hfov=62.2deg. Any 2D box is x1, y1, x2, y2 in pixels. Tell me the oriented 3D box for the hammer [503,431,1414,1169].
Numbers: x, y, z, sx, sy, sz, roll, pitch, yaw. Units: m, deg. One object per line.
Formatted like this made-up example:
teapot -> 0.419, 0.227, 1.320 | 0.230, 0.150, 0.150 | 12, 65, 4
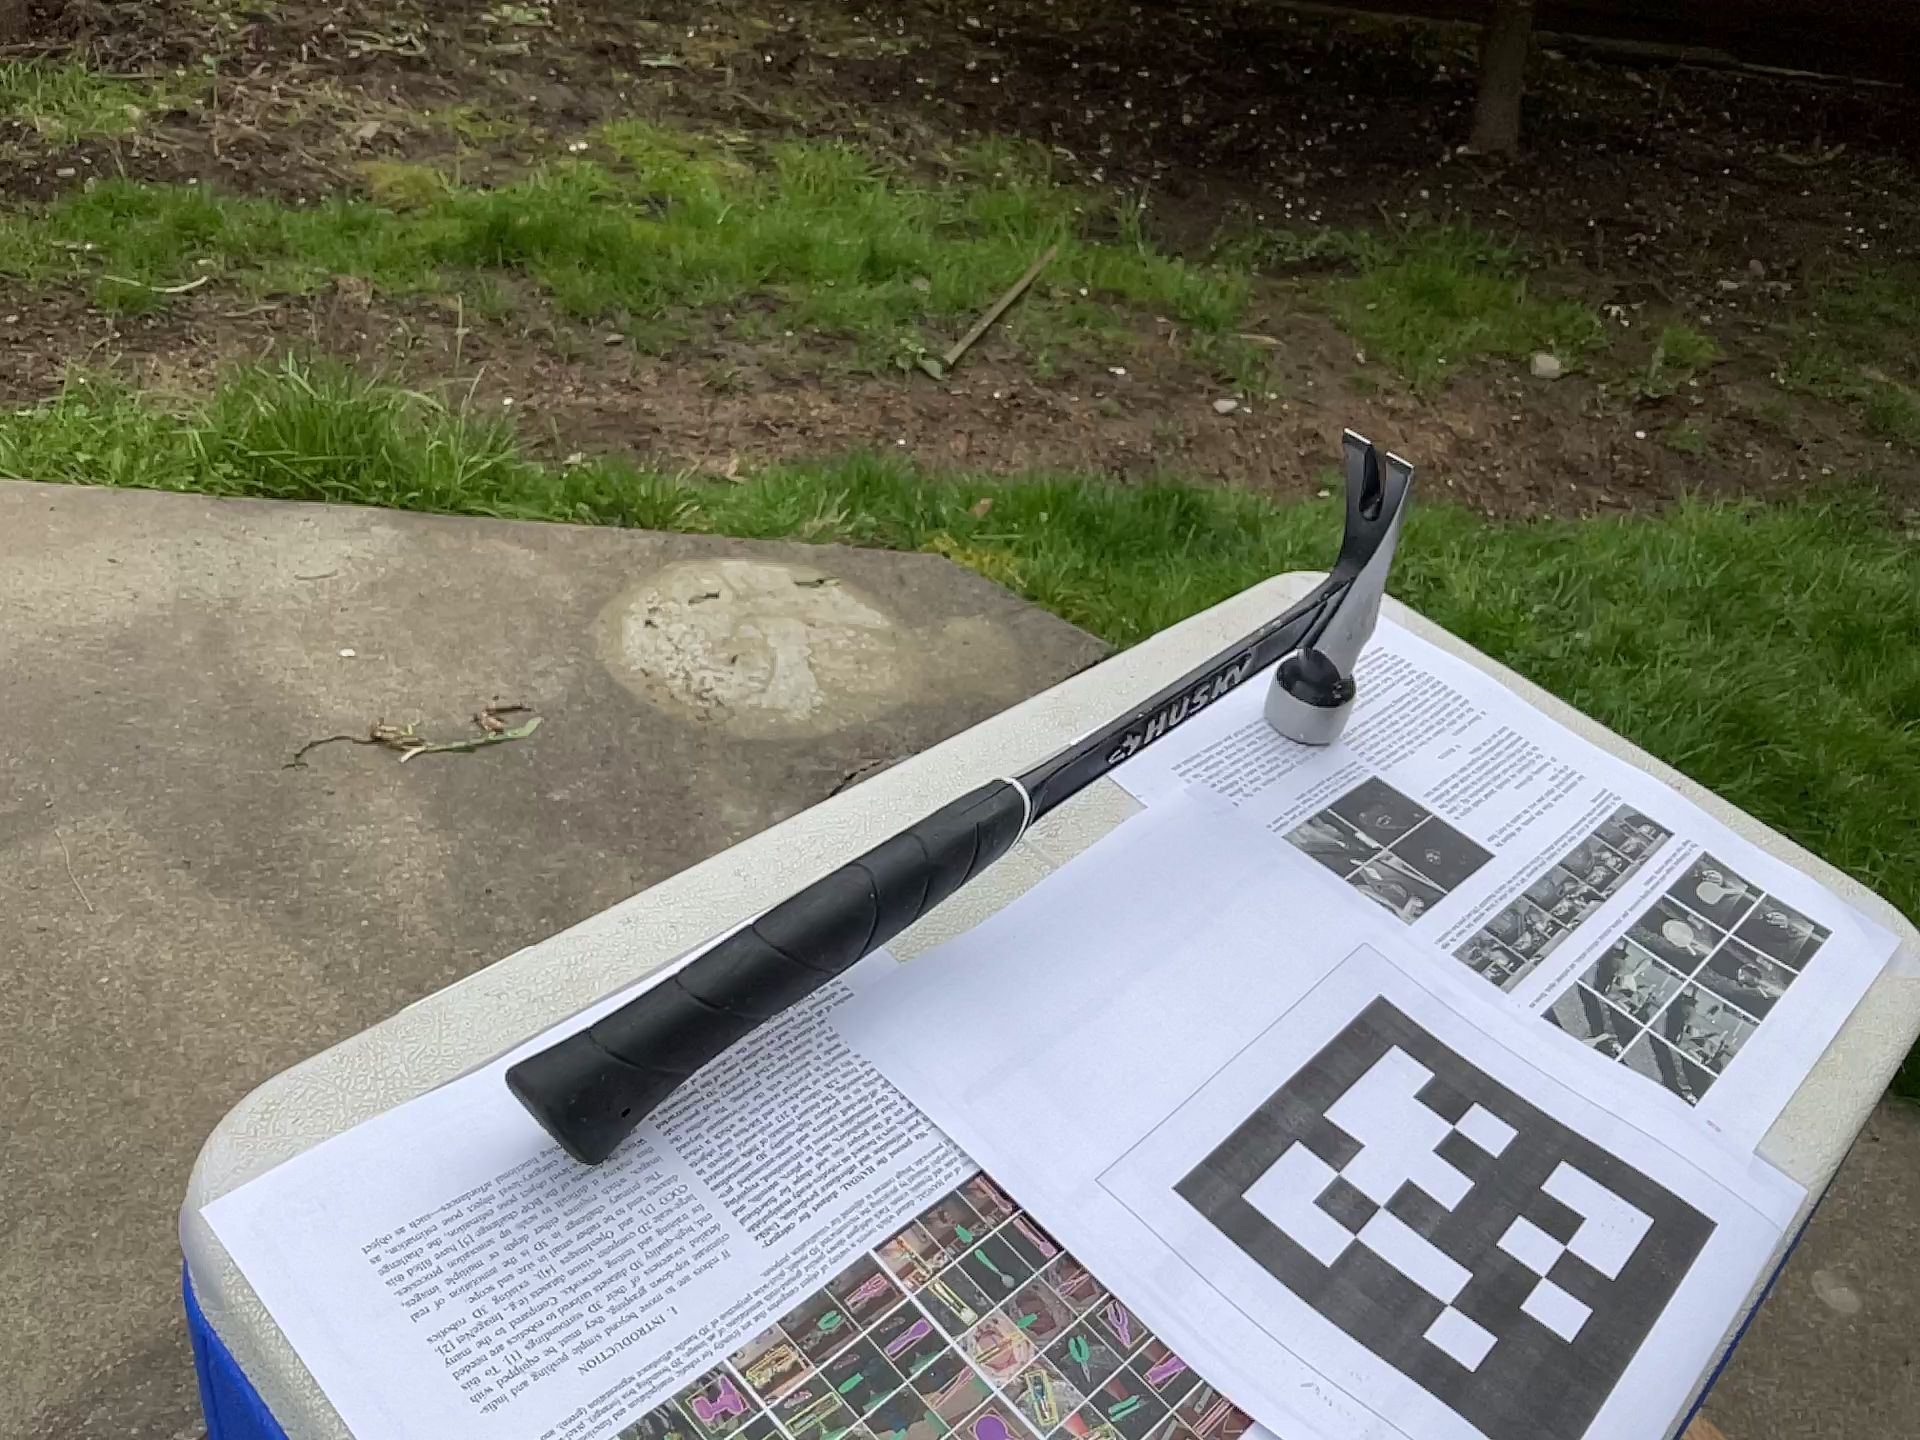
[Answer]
hammer -> 0.027, 0.024, 0.545 | 0.409, 0.149, 0.036 | -30, 54, -35
